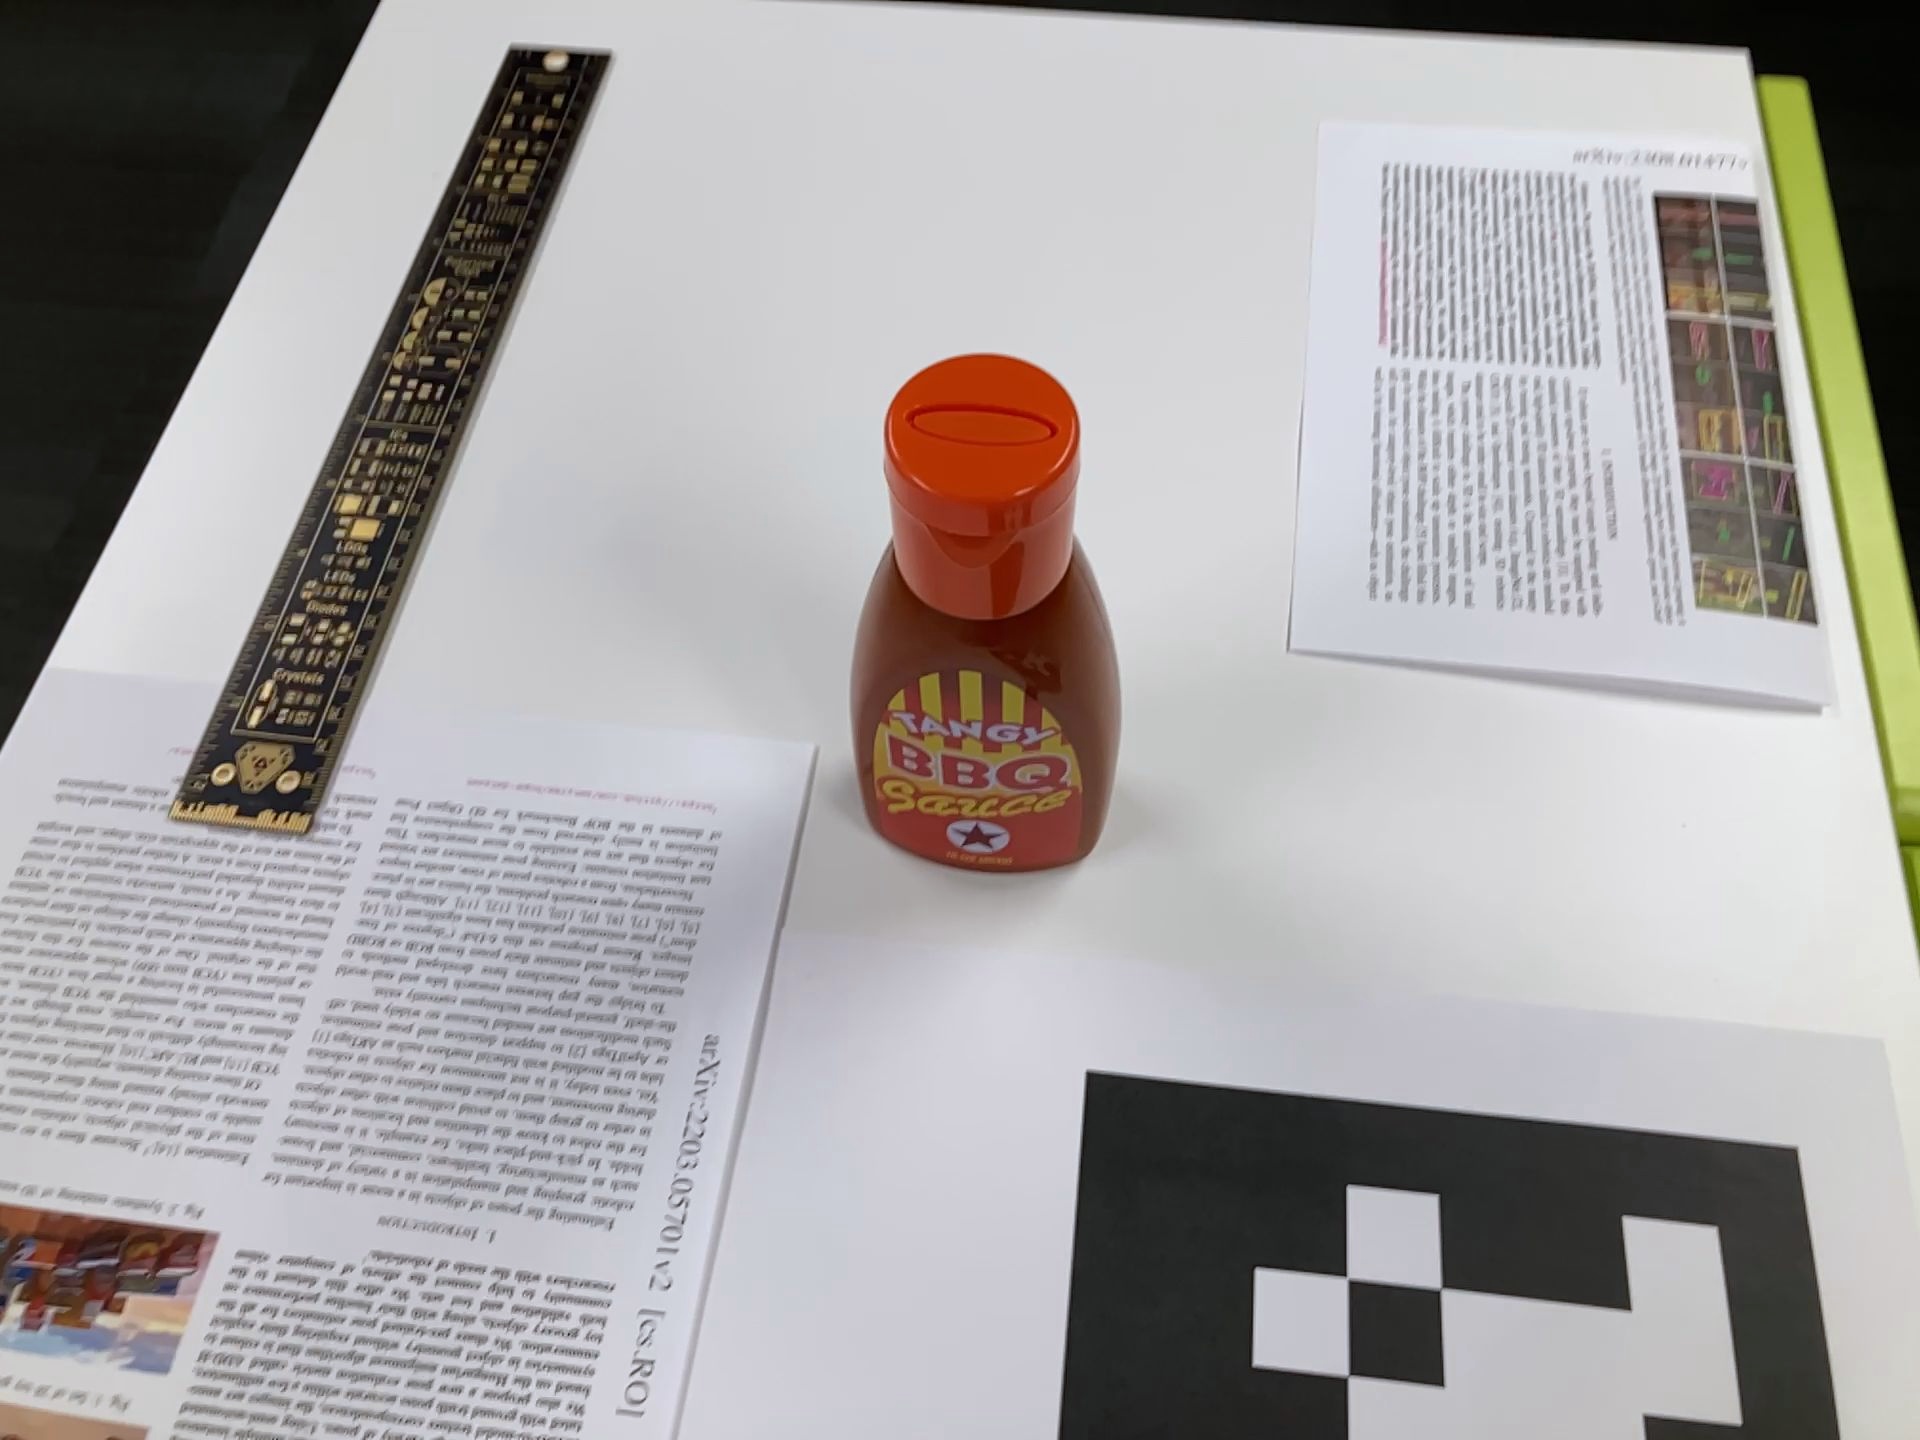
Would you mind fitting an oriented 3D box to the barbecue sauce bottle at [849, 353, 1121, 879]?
[{"bbox_3d":[0.005,-0.016,0.352,0.065,0.148,0.043,7,59,5],"label":"barbecue sauce bottle"}]
